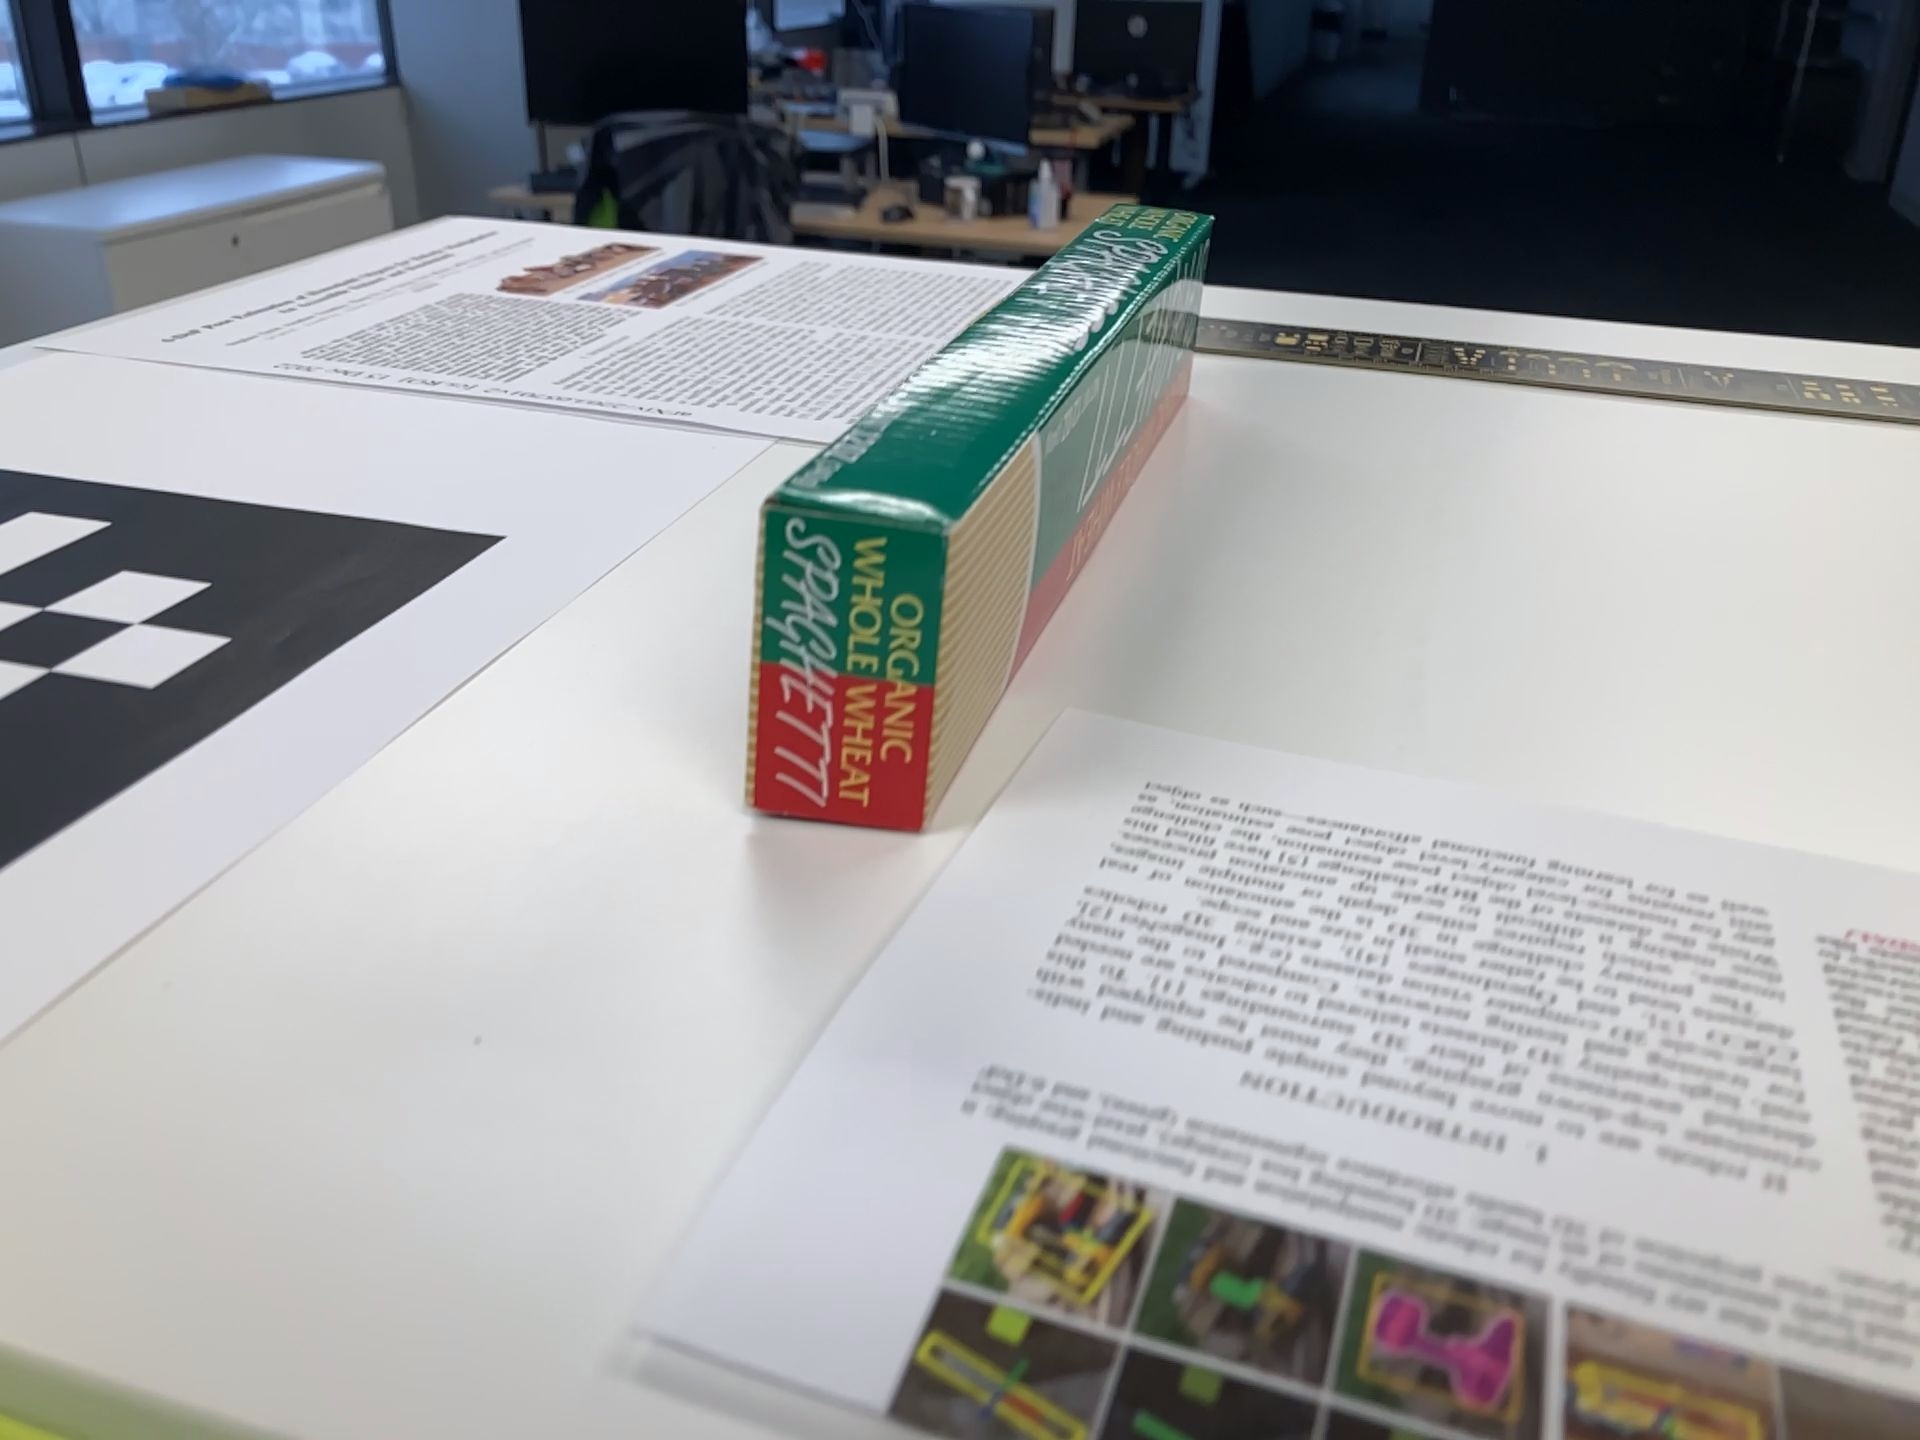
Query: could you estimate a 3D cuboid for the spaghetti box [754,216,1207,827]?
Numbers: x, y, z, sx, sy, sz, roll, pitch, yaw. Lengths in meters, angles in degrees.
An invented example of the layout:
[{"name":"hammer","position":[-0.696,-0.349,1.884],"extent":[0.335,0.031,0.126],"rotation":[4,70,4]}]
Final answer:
[{"name":"spaghetti box","position":[0.017,-0.060,0.331],"extent":[0.028,0.050,0.250],"rotation":[13,29,11]}]
